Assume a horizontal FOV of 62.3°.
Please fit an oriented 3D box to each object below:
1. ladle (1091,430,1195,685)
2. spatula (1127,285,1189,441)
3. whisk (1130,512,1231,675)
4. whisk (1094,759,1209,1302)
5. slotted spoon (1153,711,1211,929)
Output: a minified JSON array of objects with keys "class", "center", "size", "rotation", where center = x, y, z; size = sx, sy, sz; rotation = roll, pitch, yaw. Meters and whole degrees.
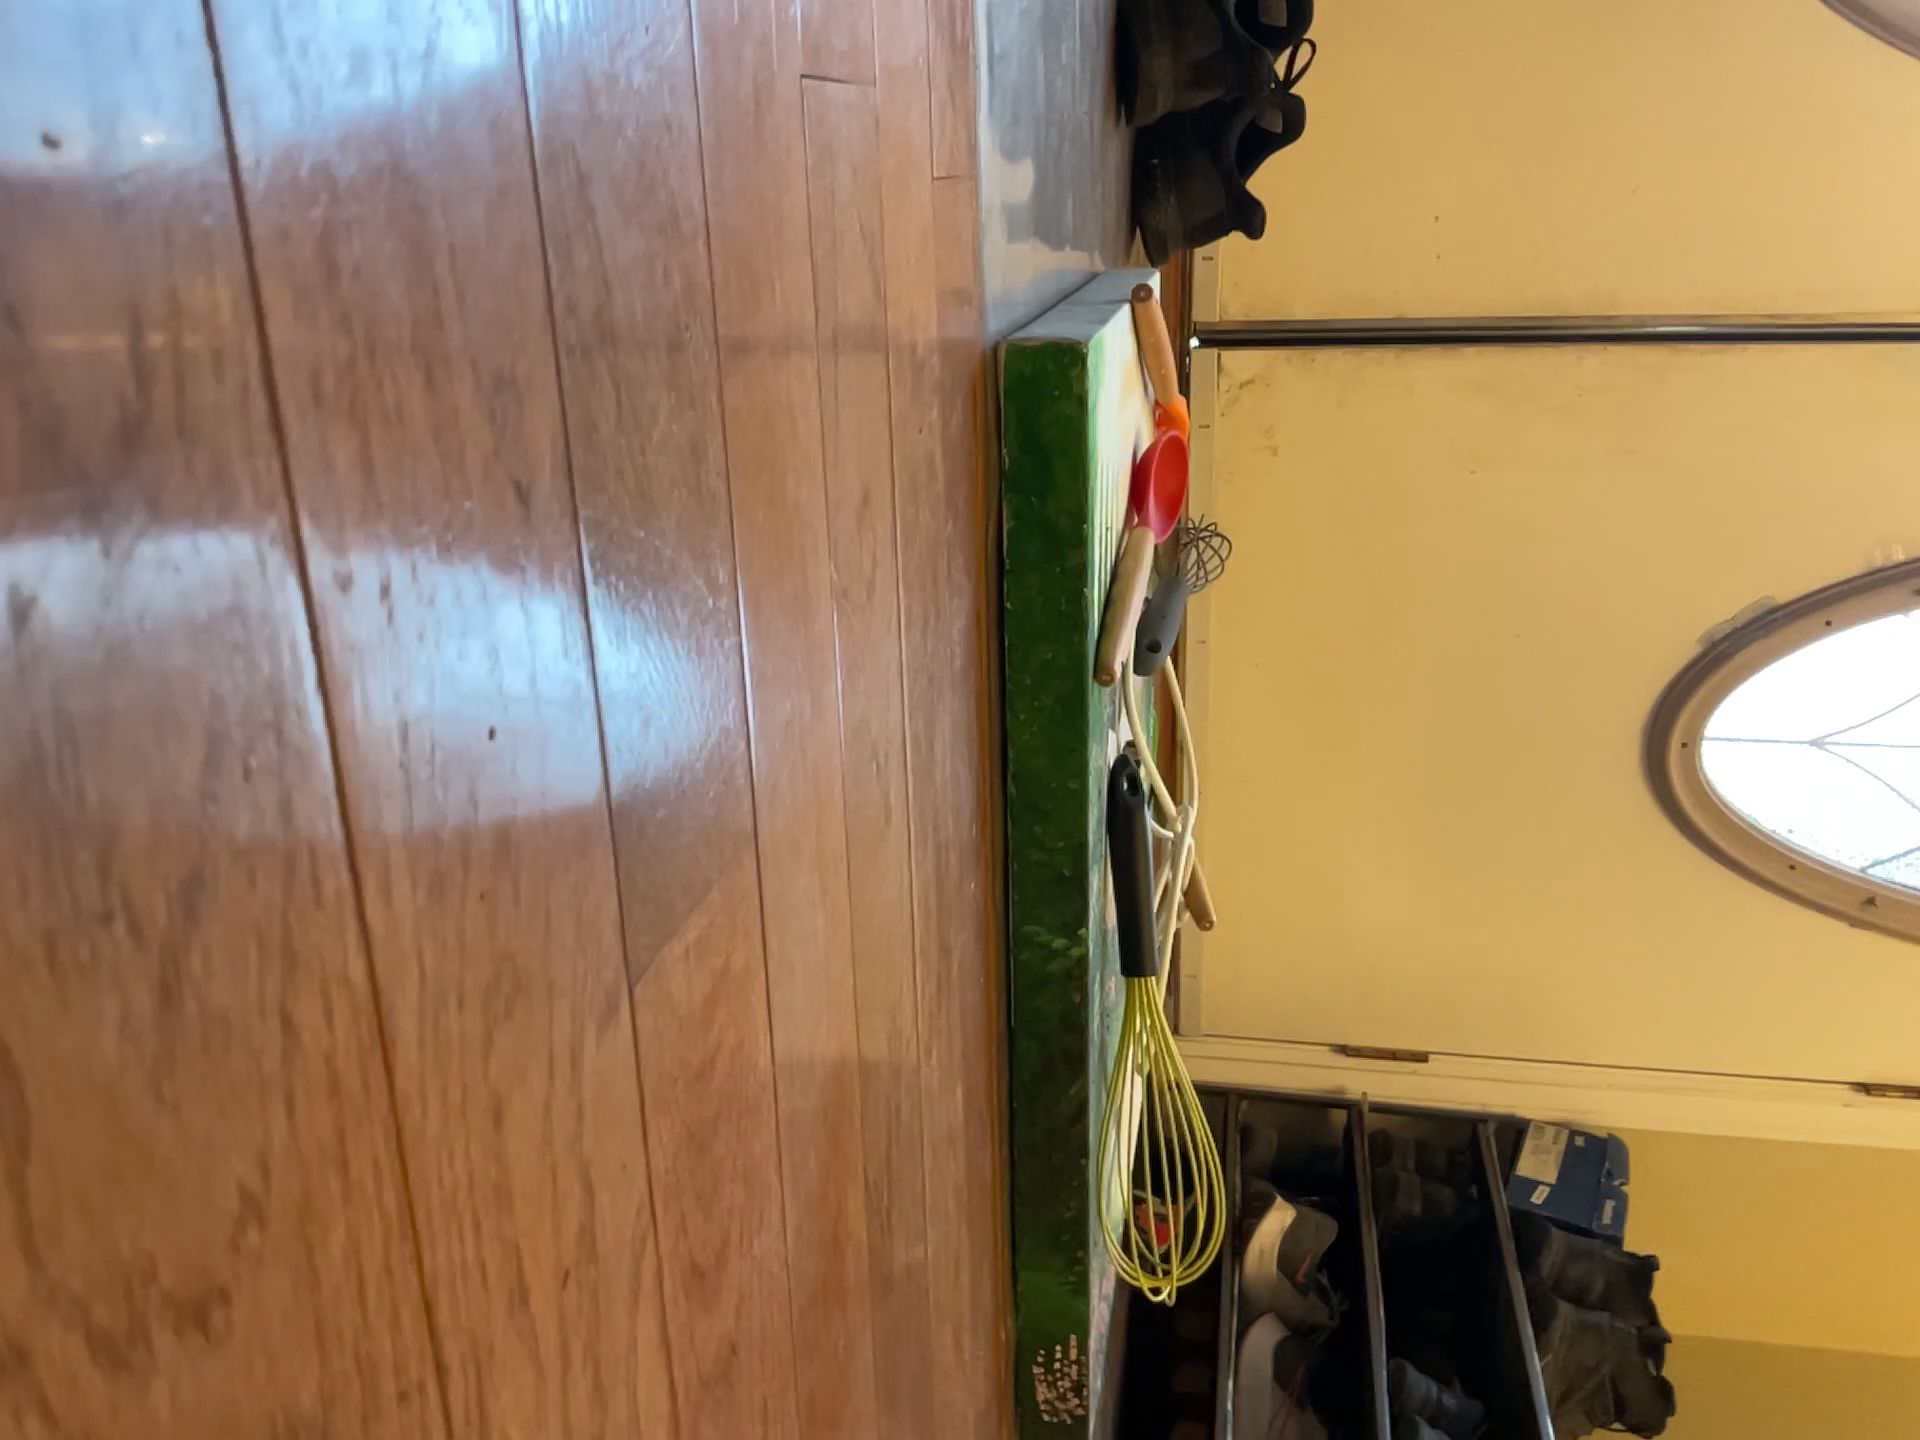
[{"class":"ladle","center":[0.103,-0.094,0.906],"size":[0.316,0.031,0.069],"rotation":[-64,153,-59]},{"class":"spatula","center":[0.124,-0.219,1.041],"size":[0.322,0.041,0.081],"rotation":[26,56,-77]},{"class":"whisk","center":[0.149,-0.088,1.102],"size":[0.239,0.055,0.055],"rotation":[-58,139,-57]},{"class":"whisk","center":[0.102,0.178,0.911],"size":[0.080,0.067,0.312],"rotation":[-17,103,-84]},{"class":"slotted spoon","center":[0.156,0.073,1.191],"size":[0.314,0.031,0.070],"rotation":[-92,-179,-68]}]
